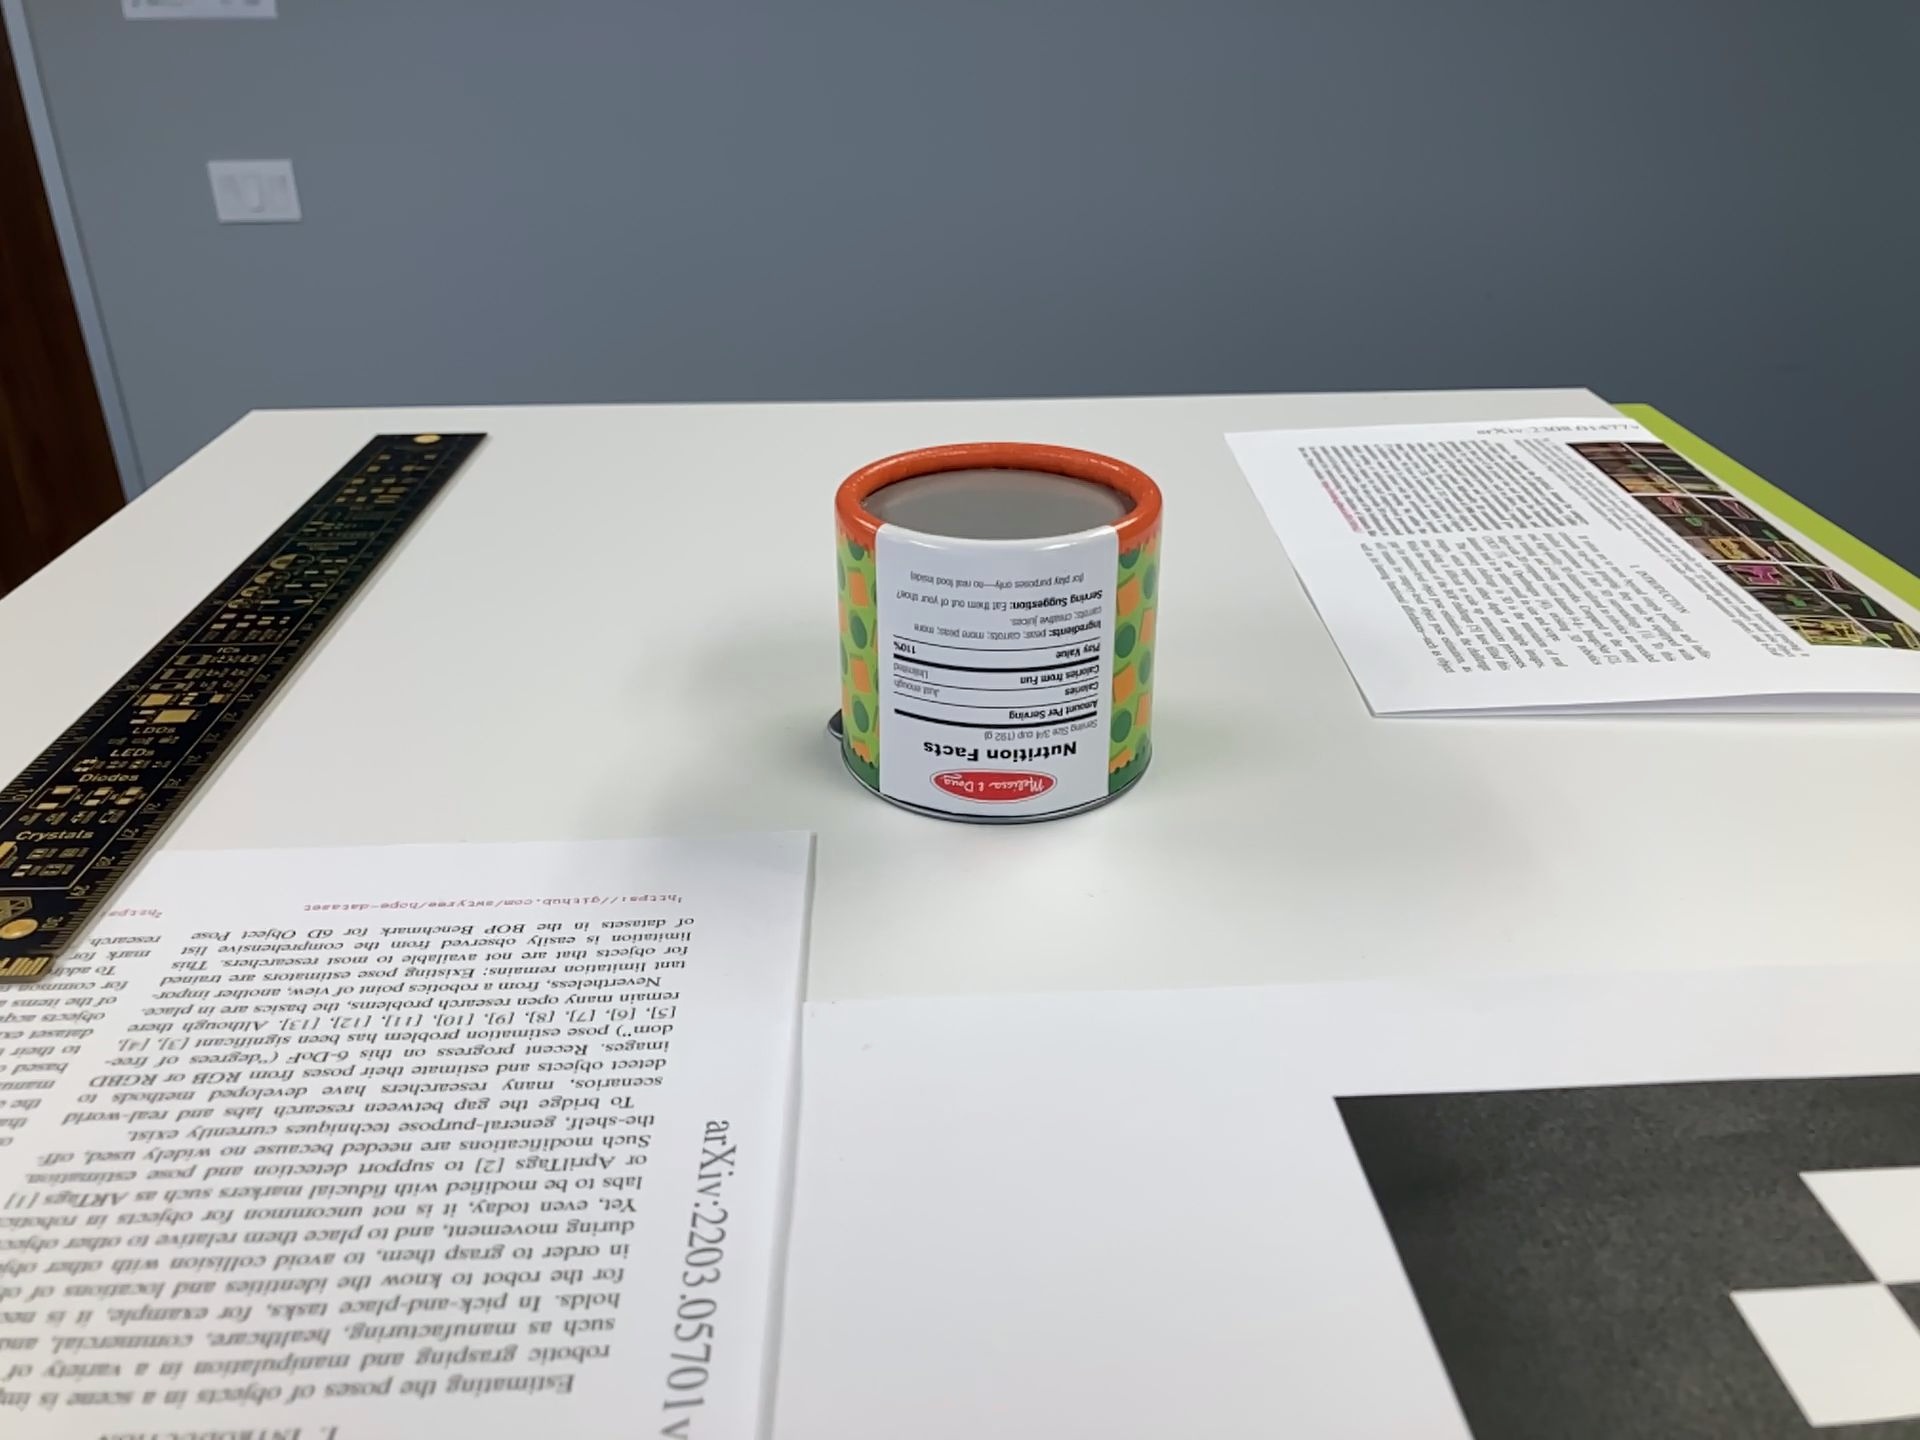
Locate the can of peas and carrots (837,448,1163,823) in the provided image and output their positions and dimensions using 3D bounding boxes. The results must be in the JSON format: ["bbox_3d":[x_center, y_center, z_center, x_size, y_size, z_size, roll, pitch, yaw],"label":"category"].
[{"bbox_3d":[0.008,-0.021,0.331,0.071,0.059,0.071,0,26,0],"label":"can of peas and carrots"}]
